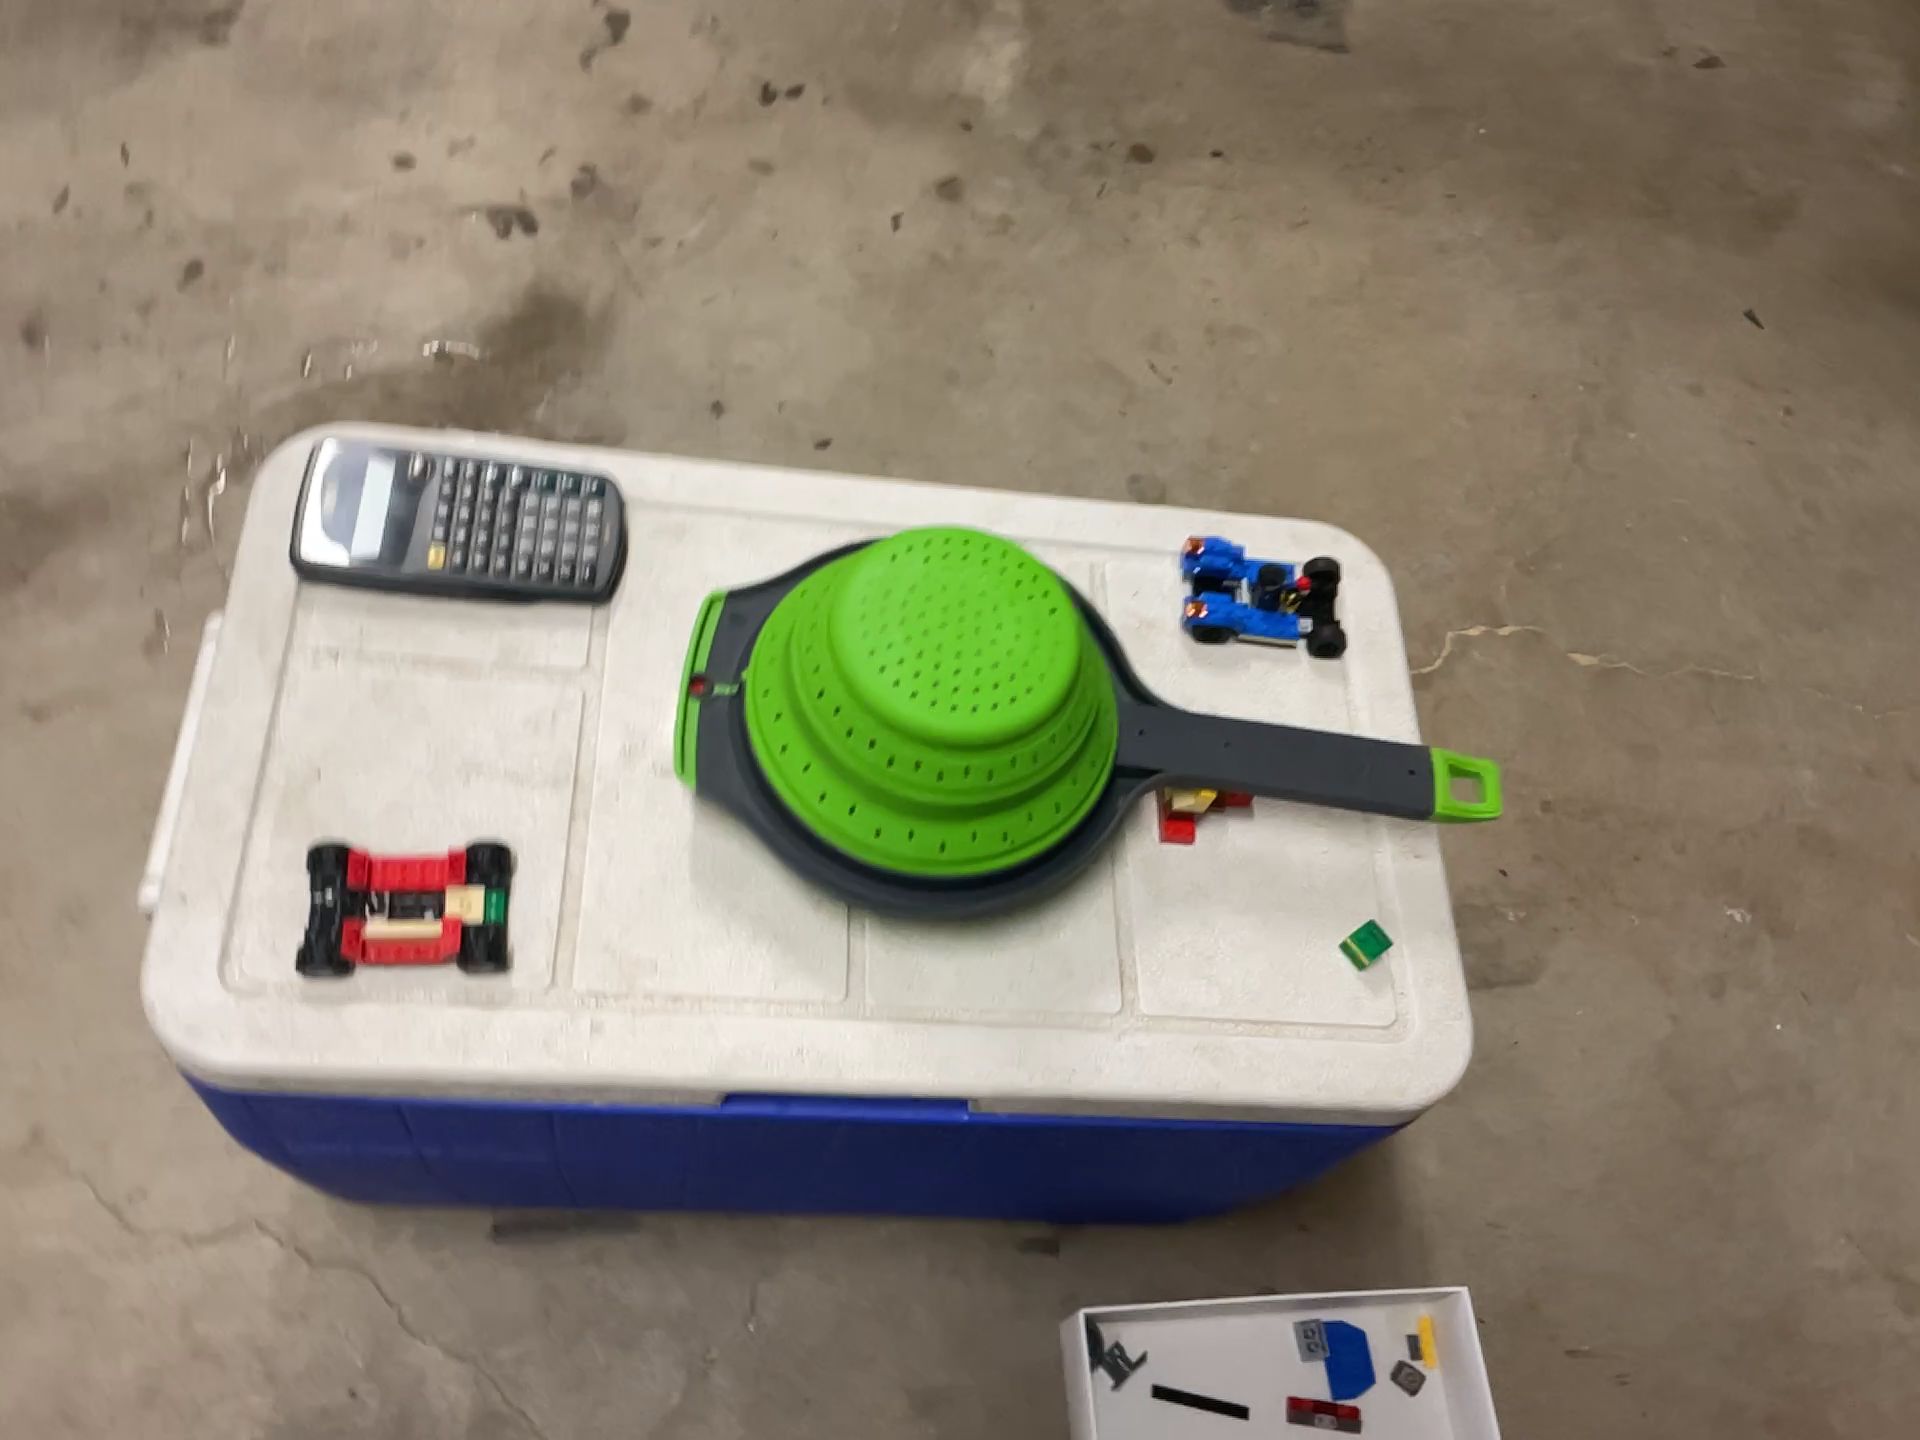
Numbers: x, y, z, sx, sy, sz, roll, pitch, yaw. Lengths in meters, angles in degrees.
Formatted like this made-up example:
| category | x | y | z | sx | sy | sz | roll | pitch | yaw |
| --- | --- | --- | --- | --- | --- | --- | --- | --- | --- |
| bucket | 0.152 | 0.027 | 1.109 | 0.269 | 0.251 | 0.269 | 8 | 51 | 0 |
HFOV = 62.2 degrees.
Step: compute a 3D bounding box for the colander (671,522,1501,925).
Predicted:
| category | x | y | z | sx | sy | sz | roll | pitch | yaw |
| --- | --- | --- | --- | --- | --- | --- | --- | --- | --- |
| colander | 0.072 | -0.009 | 0.722 | 0.397 | 0.094 | 0.205 | 8 | 61 | -7 |
